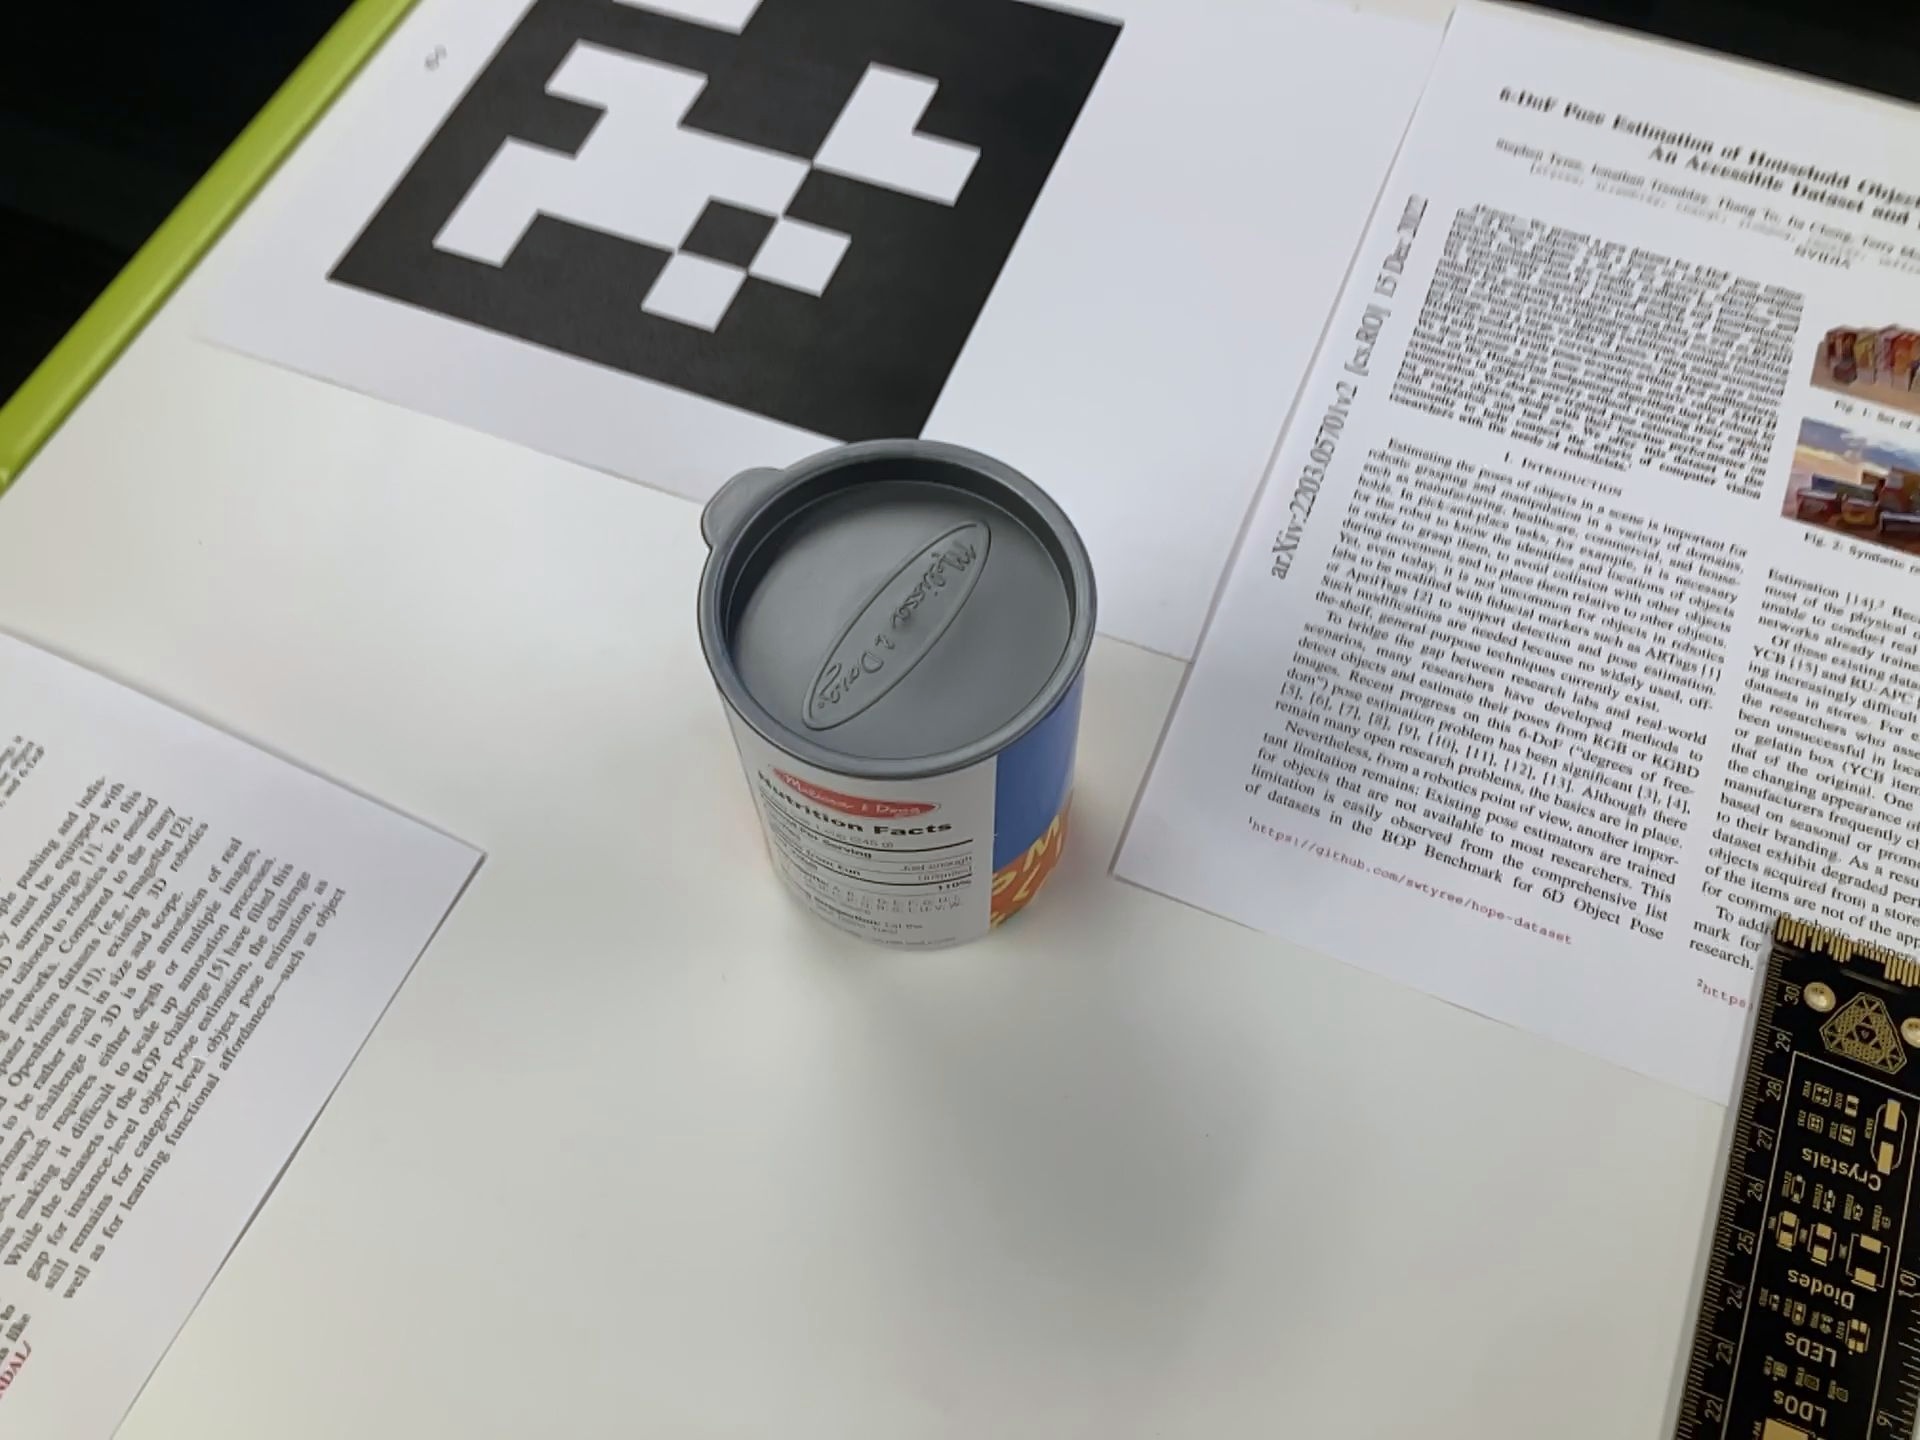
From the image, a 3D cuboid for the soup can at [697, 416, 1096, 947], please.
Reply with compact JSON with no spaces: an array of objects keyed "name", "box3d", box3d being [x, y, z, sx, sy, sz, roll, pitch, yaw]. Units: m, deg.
[{"name":"soup can","box3d":[-0.009,-0.004,0.301,0.071,0.084,0.071,0,63,1]}]
